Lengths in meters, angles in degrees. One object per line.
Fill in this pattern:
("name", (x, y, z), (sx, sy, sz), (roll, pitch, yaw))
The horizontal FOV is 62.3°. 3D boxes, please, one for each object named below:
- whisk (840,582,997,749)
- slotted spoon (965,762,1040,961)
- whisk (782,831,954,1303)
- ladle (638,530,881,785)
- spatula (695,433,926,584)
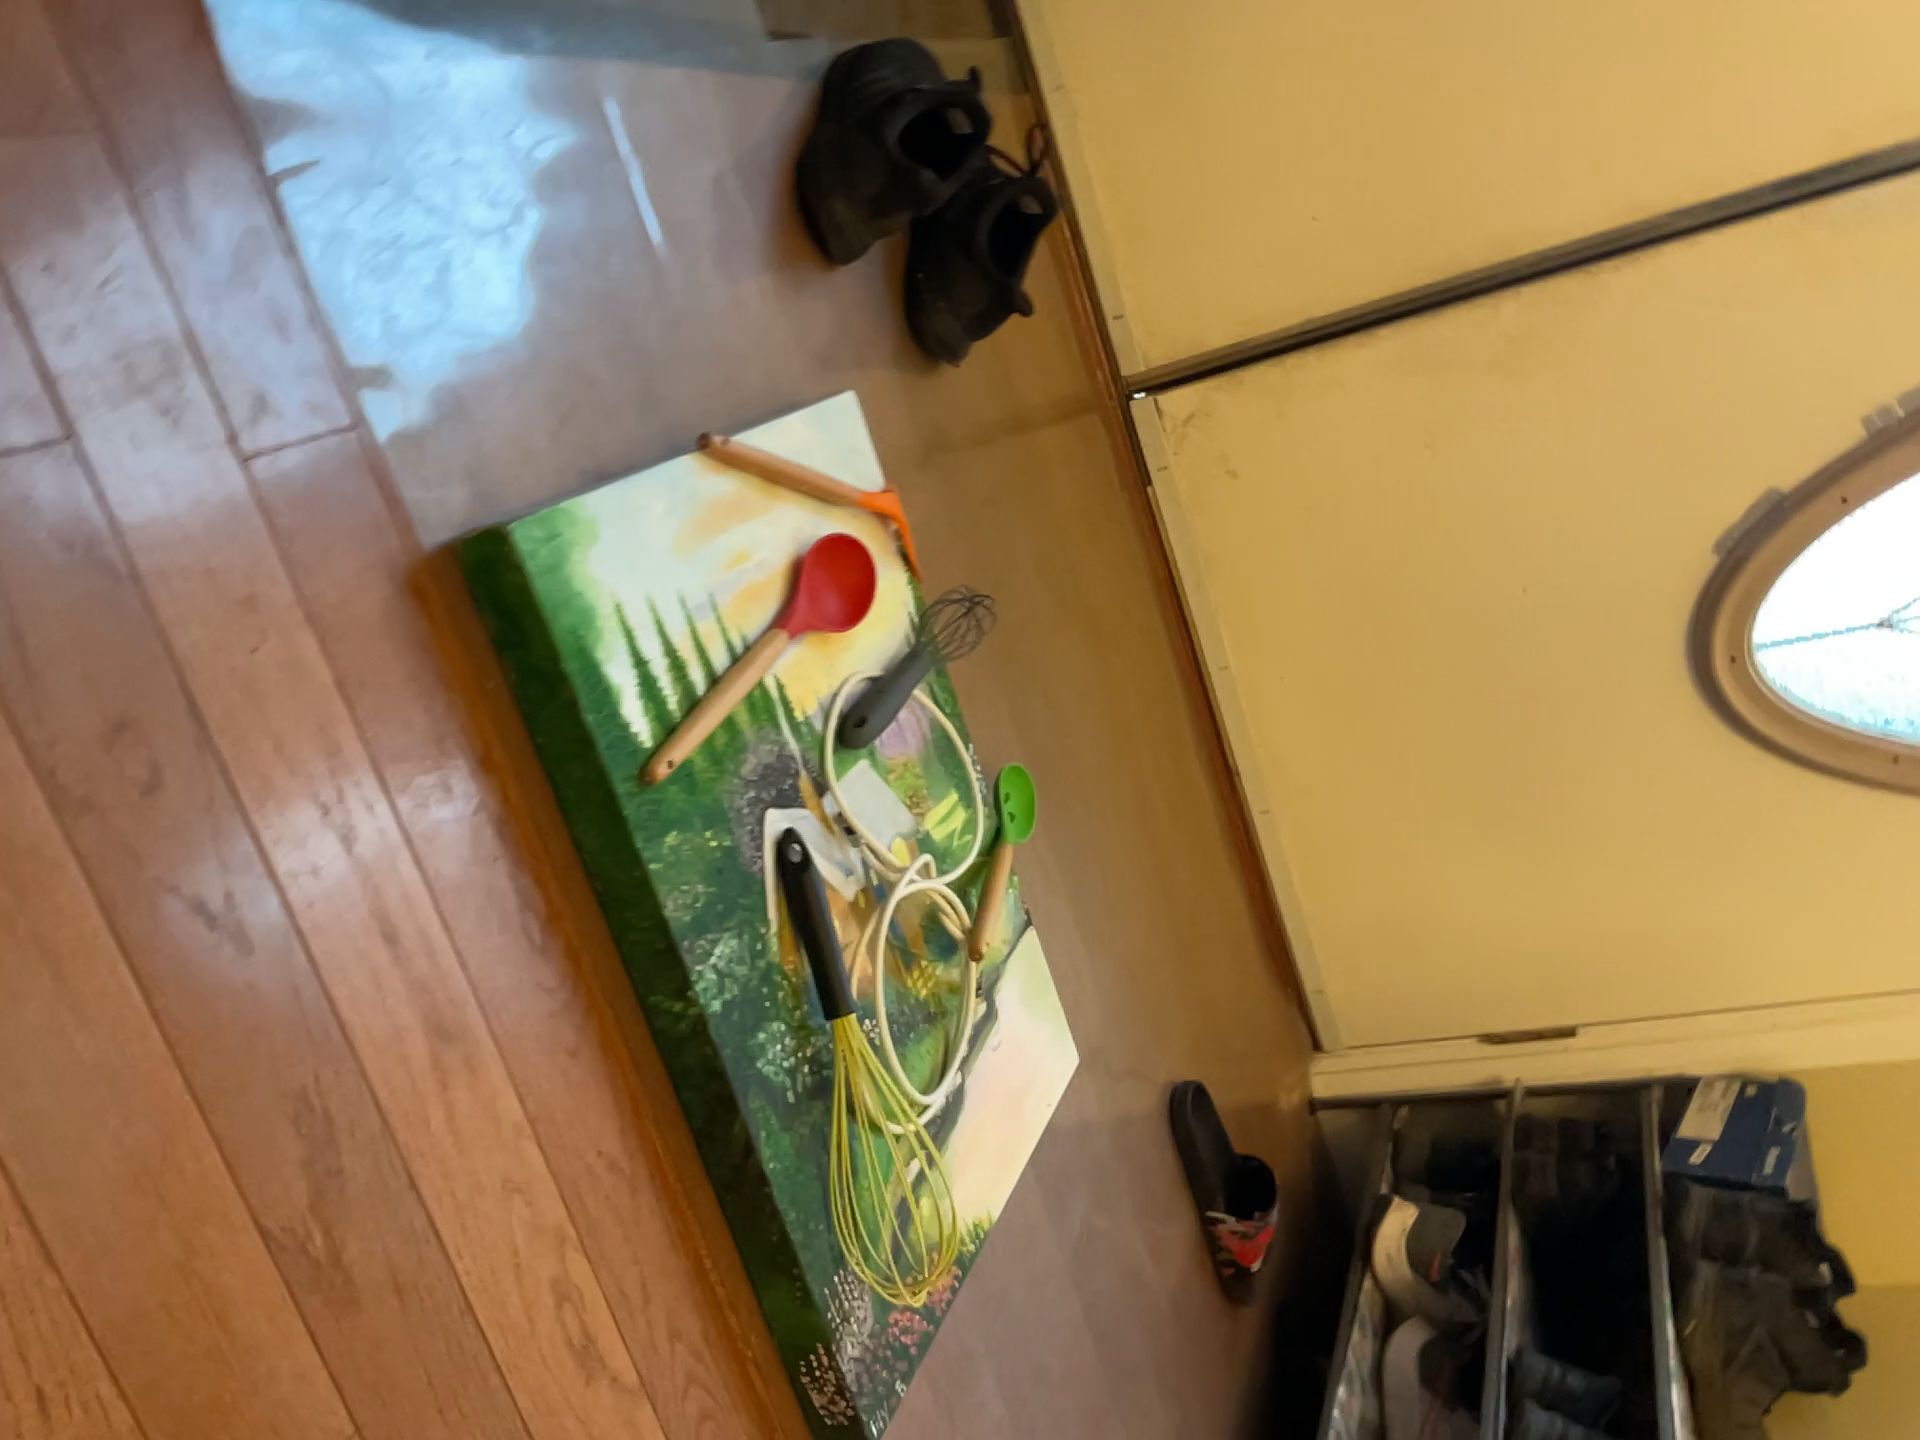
("whisk", (-0.032, -0.042, 1.220), (0.055, 0.055, 0.239), (58, 36, -16))
("slotted spoon", (0.032, 0.115, 1.291), (0.314, 0.031, 0.070), (-67, 140, -68))
("whisk", (-0.070, 0.223, 1.026), (0.080, 0.067, 0.312), (-5, 78, -70))
("ladle", (-0.128, -0.042, 1.043), (0.069, 0.031, 0.316), (67, 30, -21))
("spatula", (-0.099, -0.166, 1.177), (0.322, 0.041, 0.081), (9, 61, -62))
